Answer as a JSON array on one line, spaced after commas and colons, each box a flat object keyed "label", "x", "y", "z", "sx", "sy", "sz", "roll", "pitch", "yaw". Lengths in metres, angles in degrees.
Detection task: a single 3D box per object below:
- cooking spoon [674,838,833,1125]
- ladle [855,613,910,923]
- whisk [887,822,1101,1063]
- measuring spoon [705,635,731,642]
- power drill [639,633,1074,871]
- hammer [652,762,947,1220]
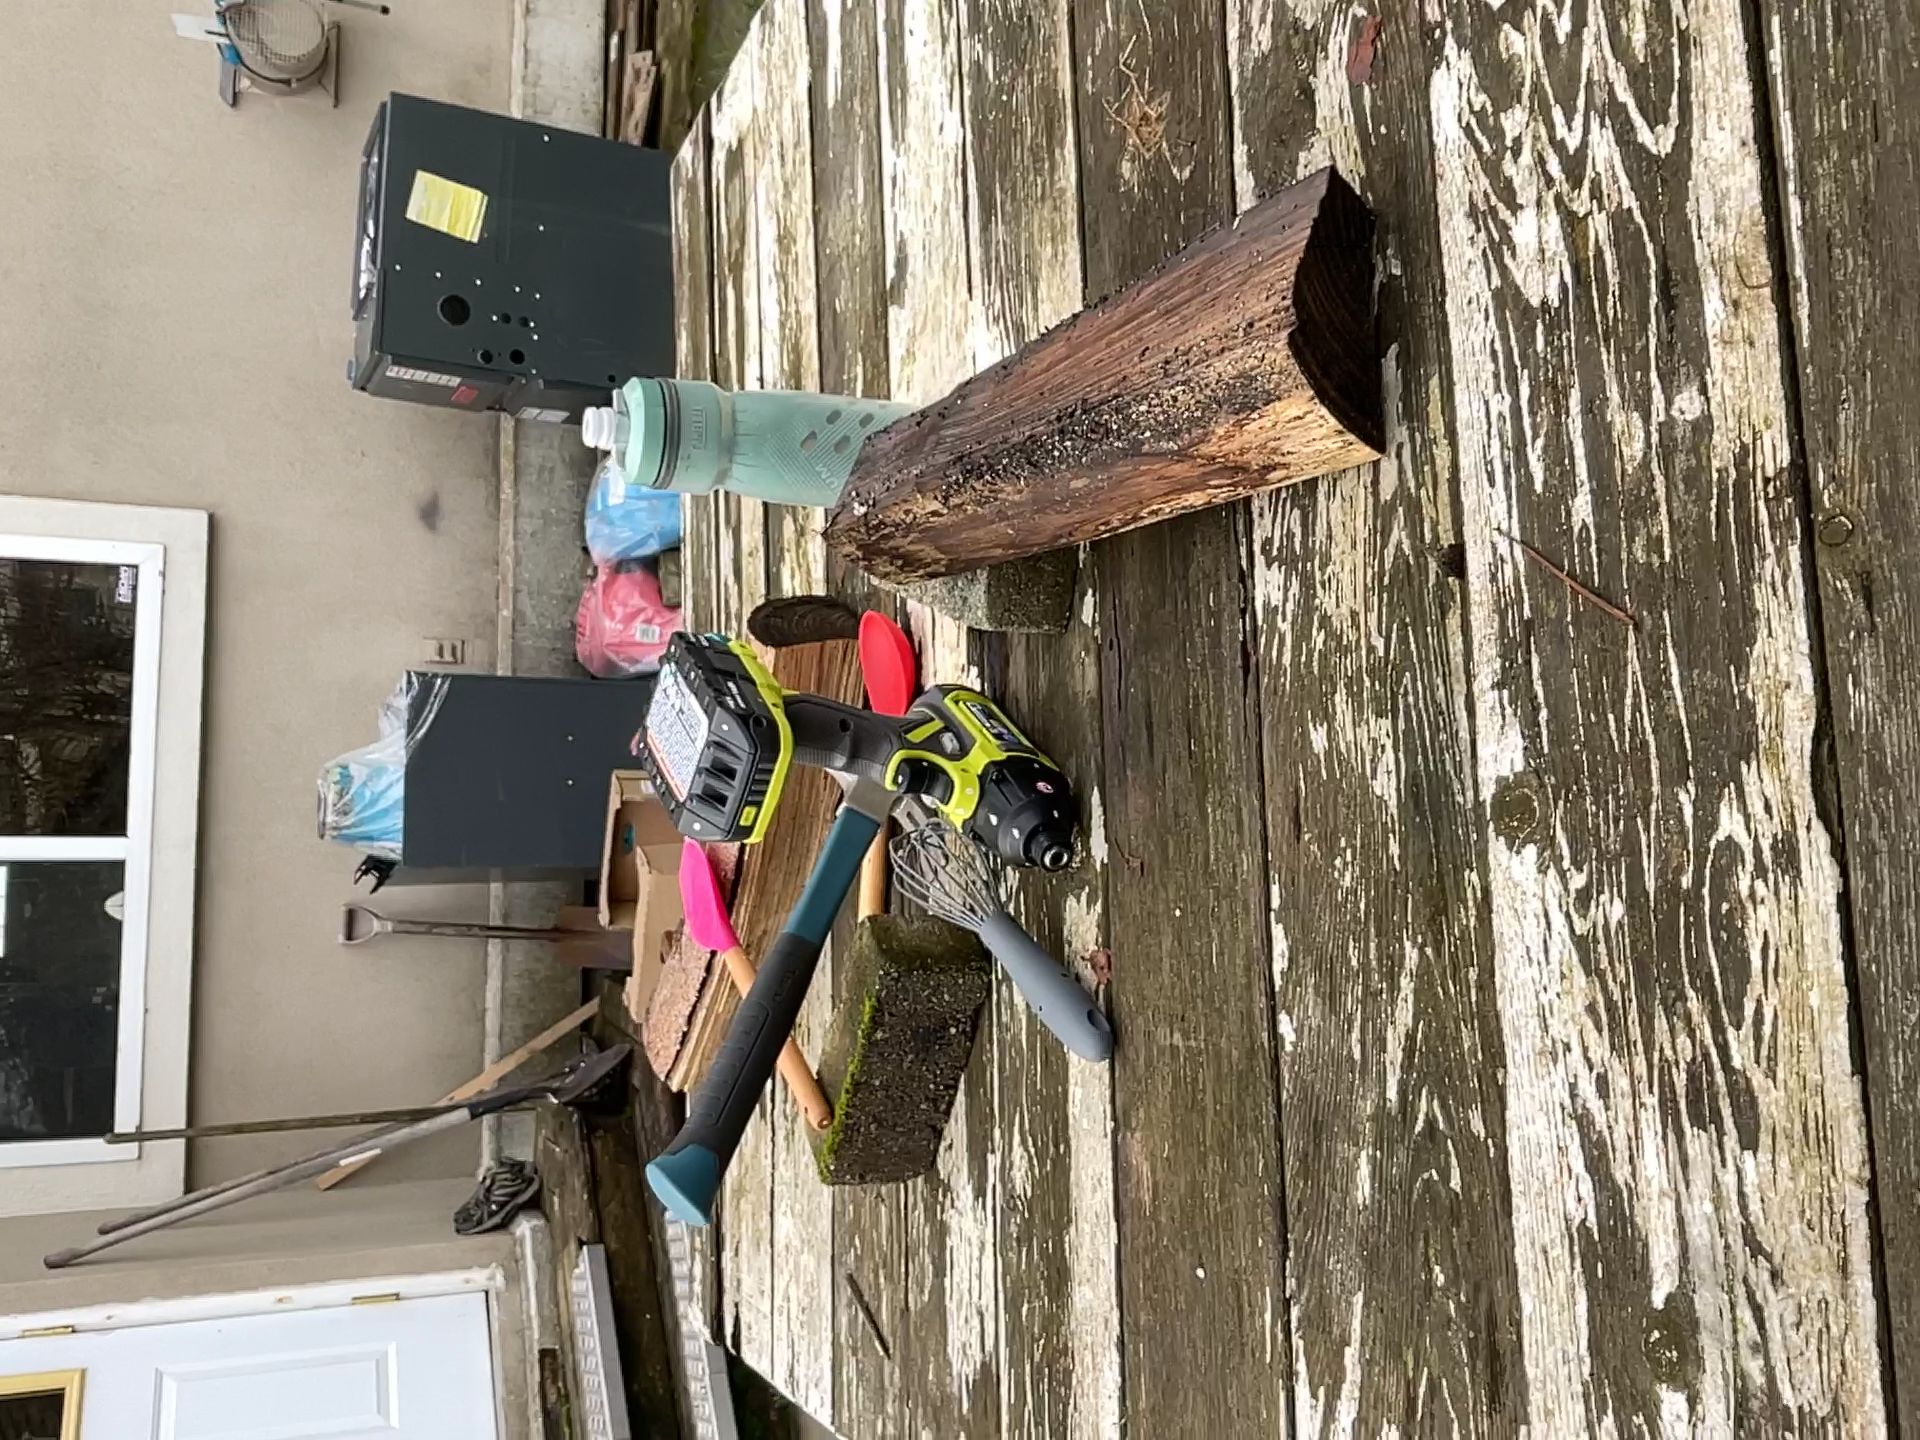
[{"label": "cooking spoon", "x": -0.155, "y": 0.181, "z": 1.140, "sx": 0.319, "sy": 0.017, "sz": 0.068, "roll": 47, "pitch": 129, "yaw": 51}, {"label": "ladle", "x": -0.060, "y": 0.081, "z": 1.136, "sx": 0.069, "sy": 0.031, "sz": 0.315, "roll": 19, "pitch": 108, "yaw": 62}, {"label": "whisk", "x": 0.017, "y": 0.126, "z": 0.927, "sx": 0.239, "sy": 0.055, "sz": 0.055, "roll": -135, "pitch": 44, "yaw": -54}, {"label": "measuring spoon", "x": -0.152, "y": -0.007, "z": 1.157, "sx": 0.129, "sy": 0.021, "sz": 0.042, "roll": 60, "pitch": 146, "yaw": 13}, {"label": "power drill", "x": -0.051, "y": 0.024, "z": 0.887, "sx": 0.171, "sy": 0.223, "sz": 0.080, "roll": 48, "pitch": 124, "yaw": 55}, {"label": "hammer", "x": -0.105, "y": 0.150, "z": 0.990, "sx": 0.033, "sy": 0.128, "sz": 0.331, "roll": -57, "pitch": 7, "yaw": 52}]
